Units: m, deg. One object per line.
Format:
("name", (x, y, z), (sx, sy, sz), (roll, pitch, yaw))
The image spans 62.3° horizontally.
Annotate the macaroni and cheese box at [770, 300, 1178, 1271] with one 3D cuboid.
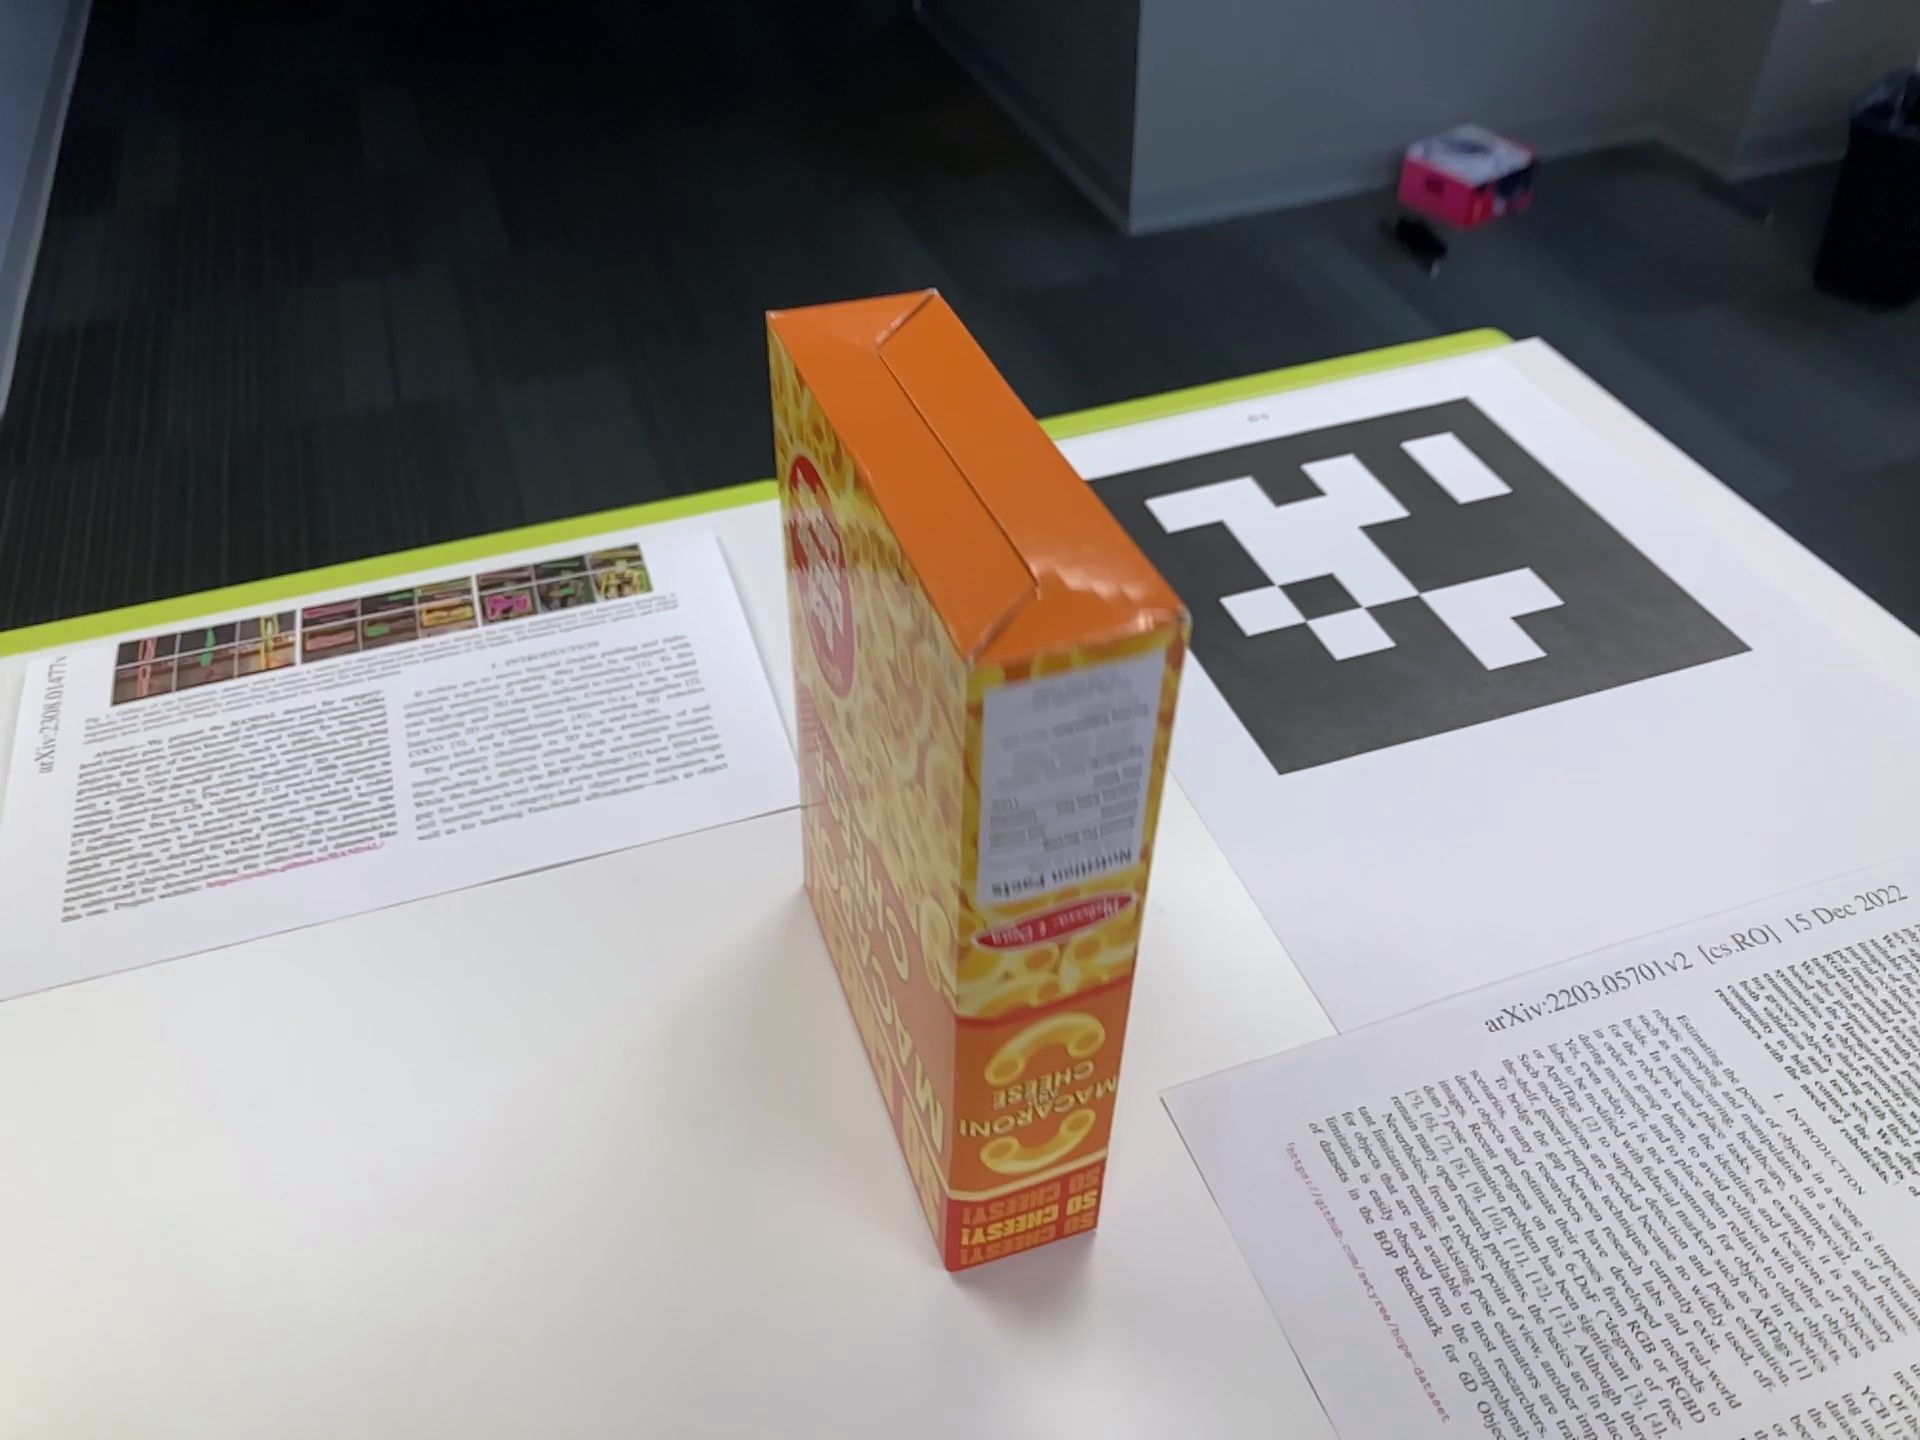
("macaroni and cheese box", (-0.004, 0.016, 0.338), (0.040, 0.166, 0.124), (-11, 41, -15))
